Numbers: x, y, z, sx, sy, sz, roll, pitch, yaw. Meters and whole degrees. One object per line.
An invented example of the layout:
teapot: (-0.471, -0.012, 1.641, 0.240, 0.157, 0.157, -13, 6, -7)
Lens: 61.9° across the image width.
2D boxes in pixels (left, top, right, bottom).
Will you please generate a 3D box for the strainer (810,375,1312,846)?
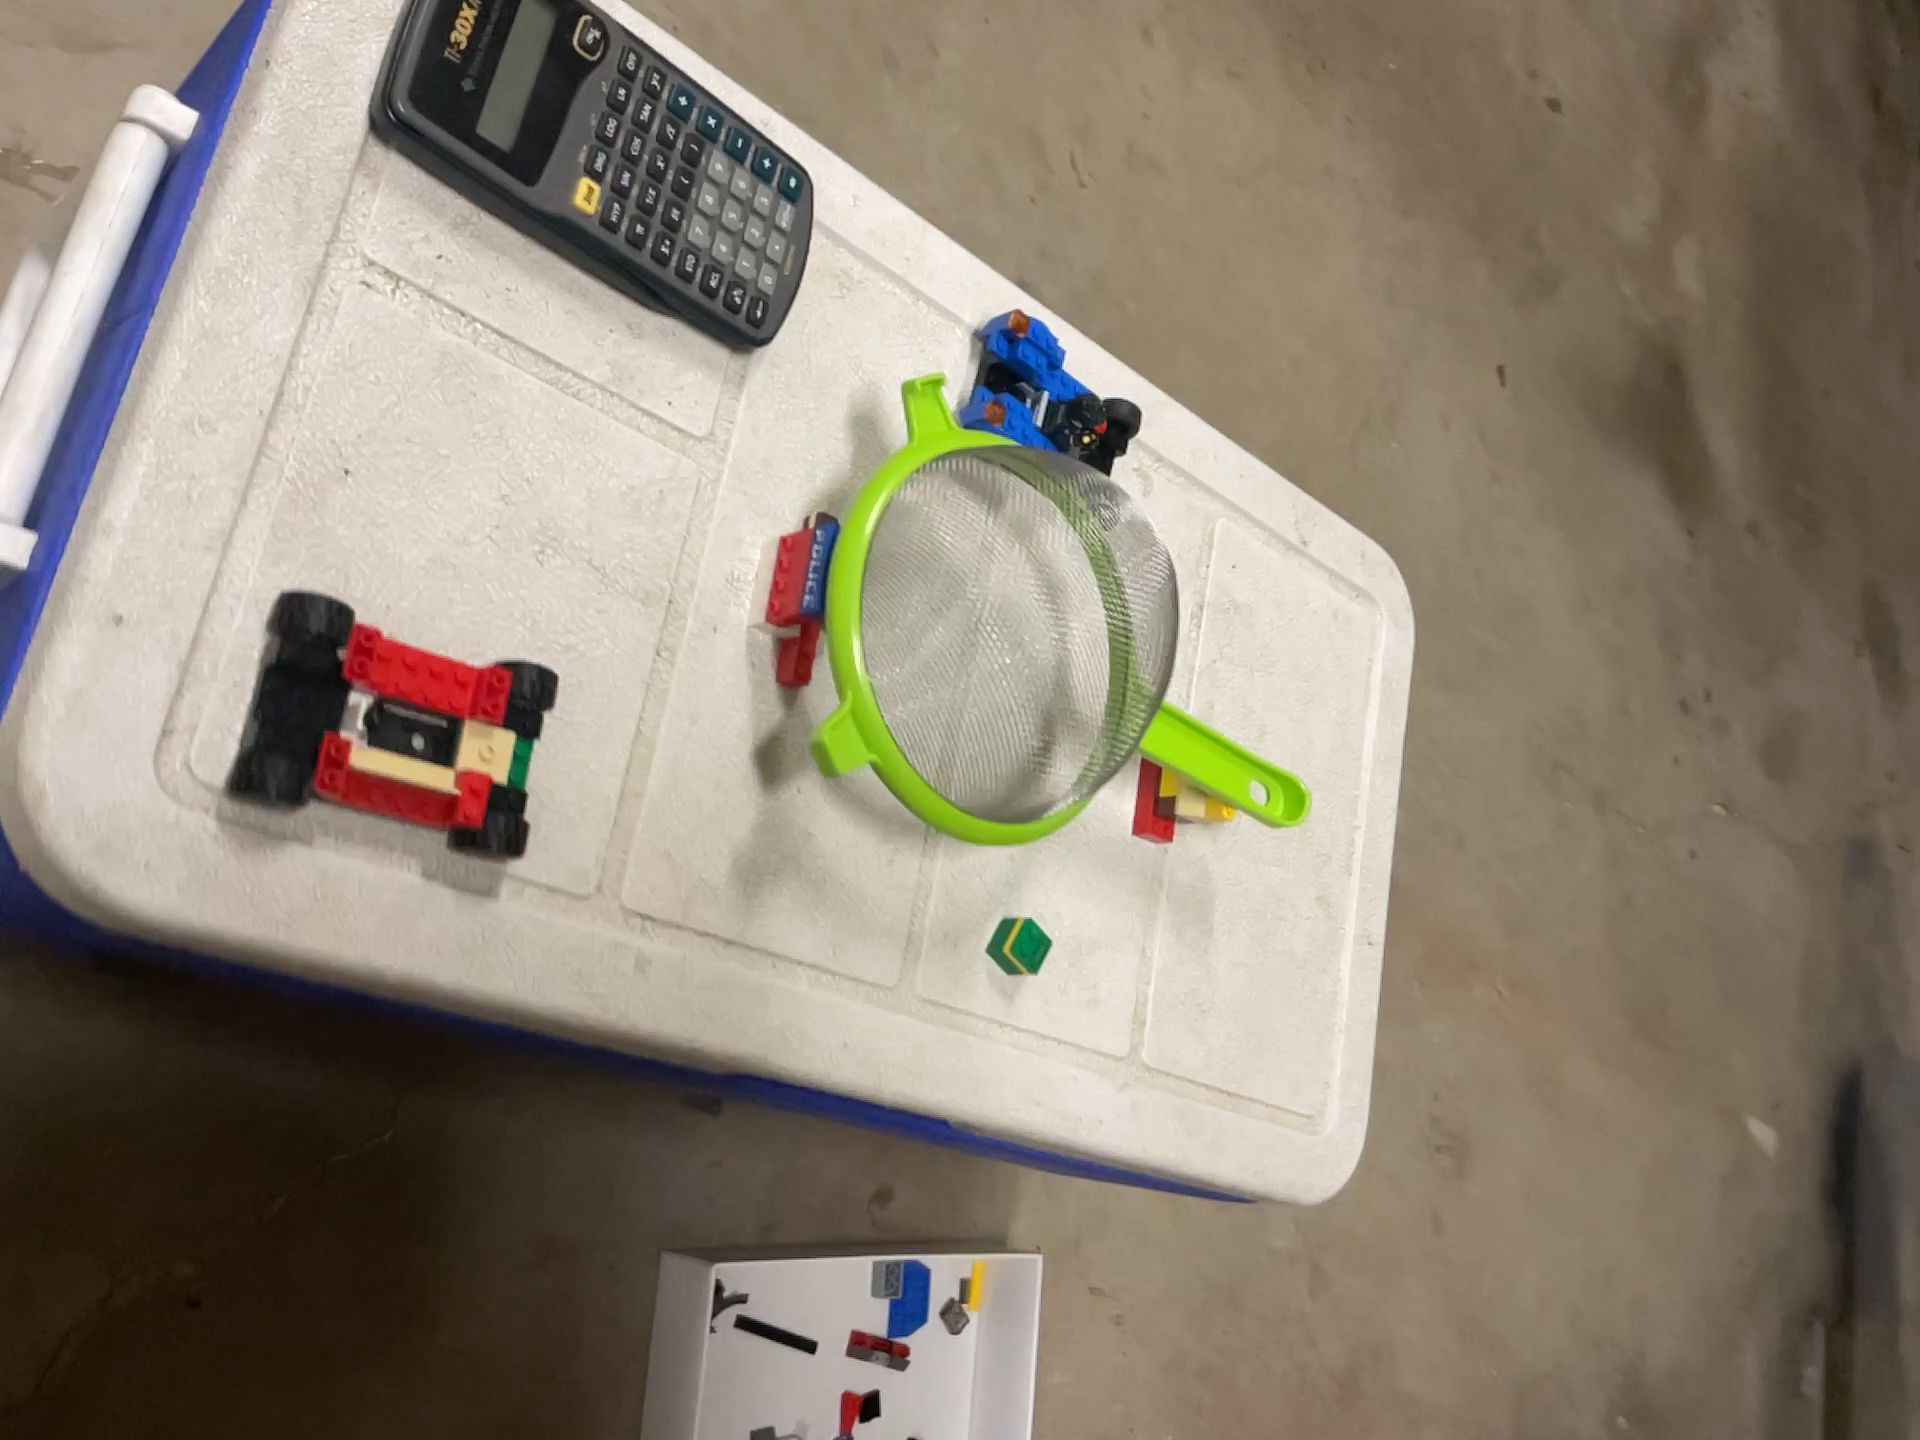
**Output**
strainer: (0.068, -0.014, 0.590, 0.256, 0.069, 0.152, 27, 65, -36)
